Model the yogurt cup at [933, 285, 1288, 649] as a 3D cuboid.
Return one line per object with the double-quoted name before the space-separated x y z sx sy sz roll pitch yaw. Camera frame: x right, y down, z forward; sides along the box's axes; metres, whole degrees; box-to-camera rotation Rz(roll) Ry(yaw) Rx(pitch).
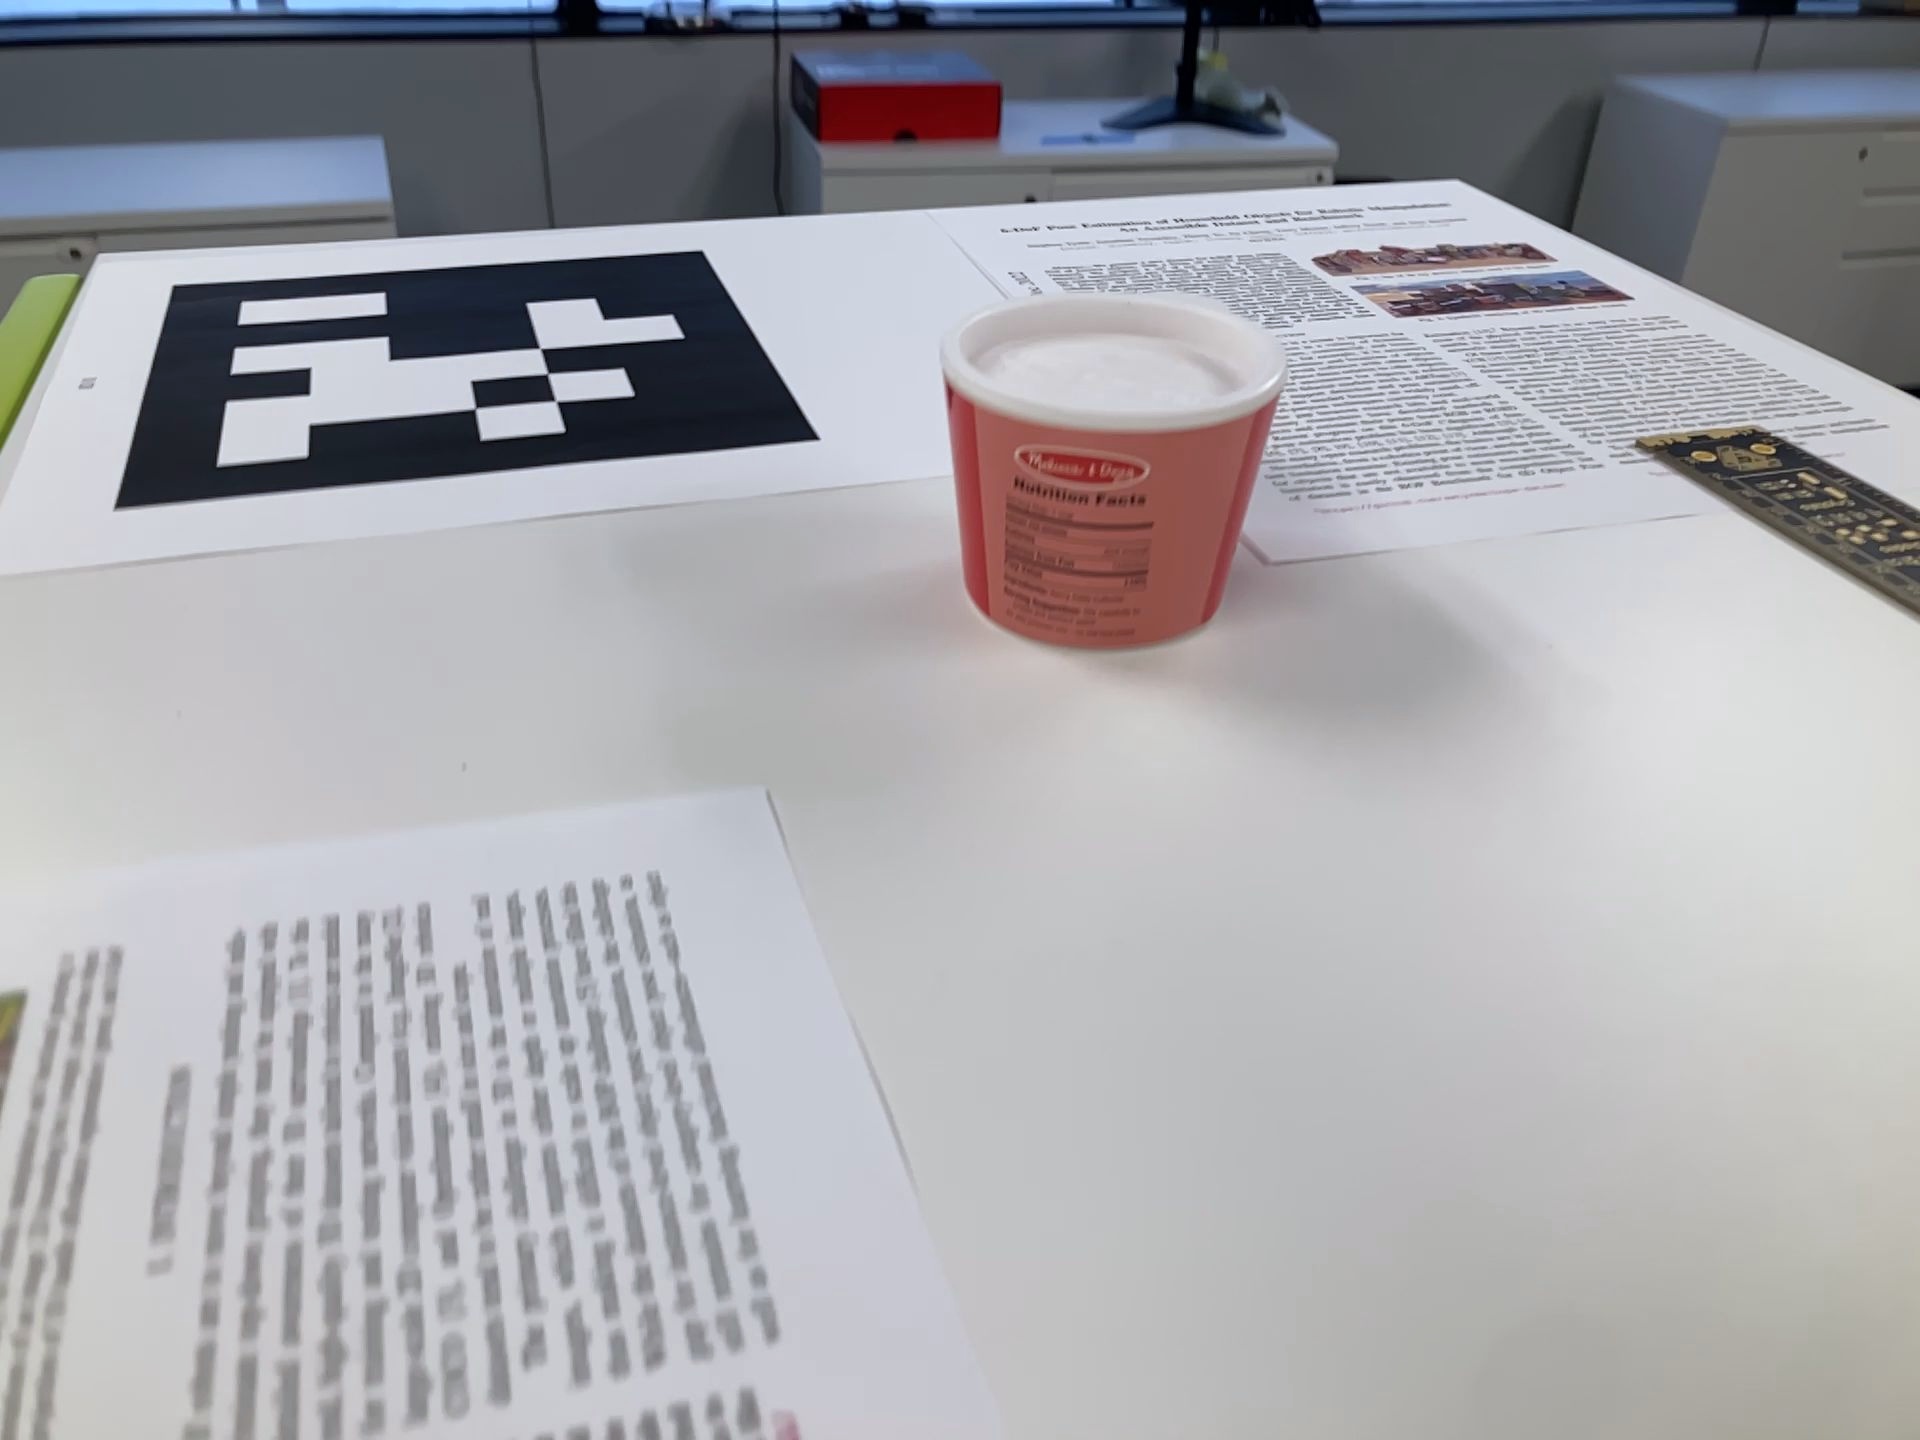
"yogurt cup" 0.028 -0.051 0.319 0.072 0.054 0.072 1 34 0
